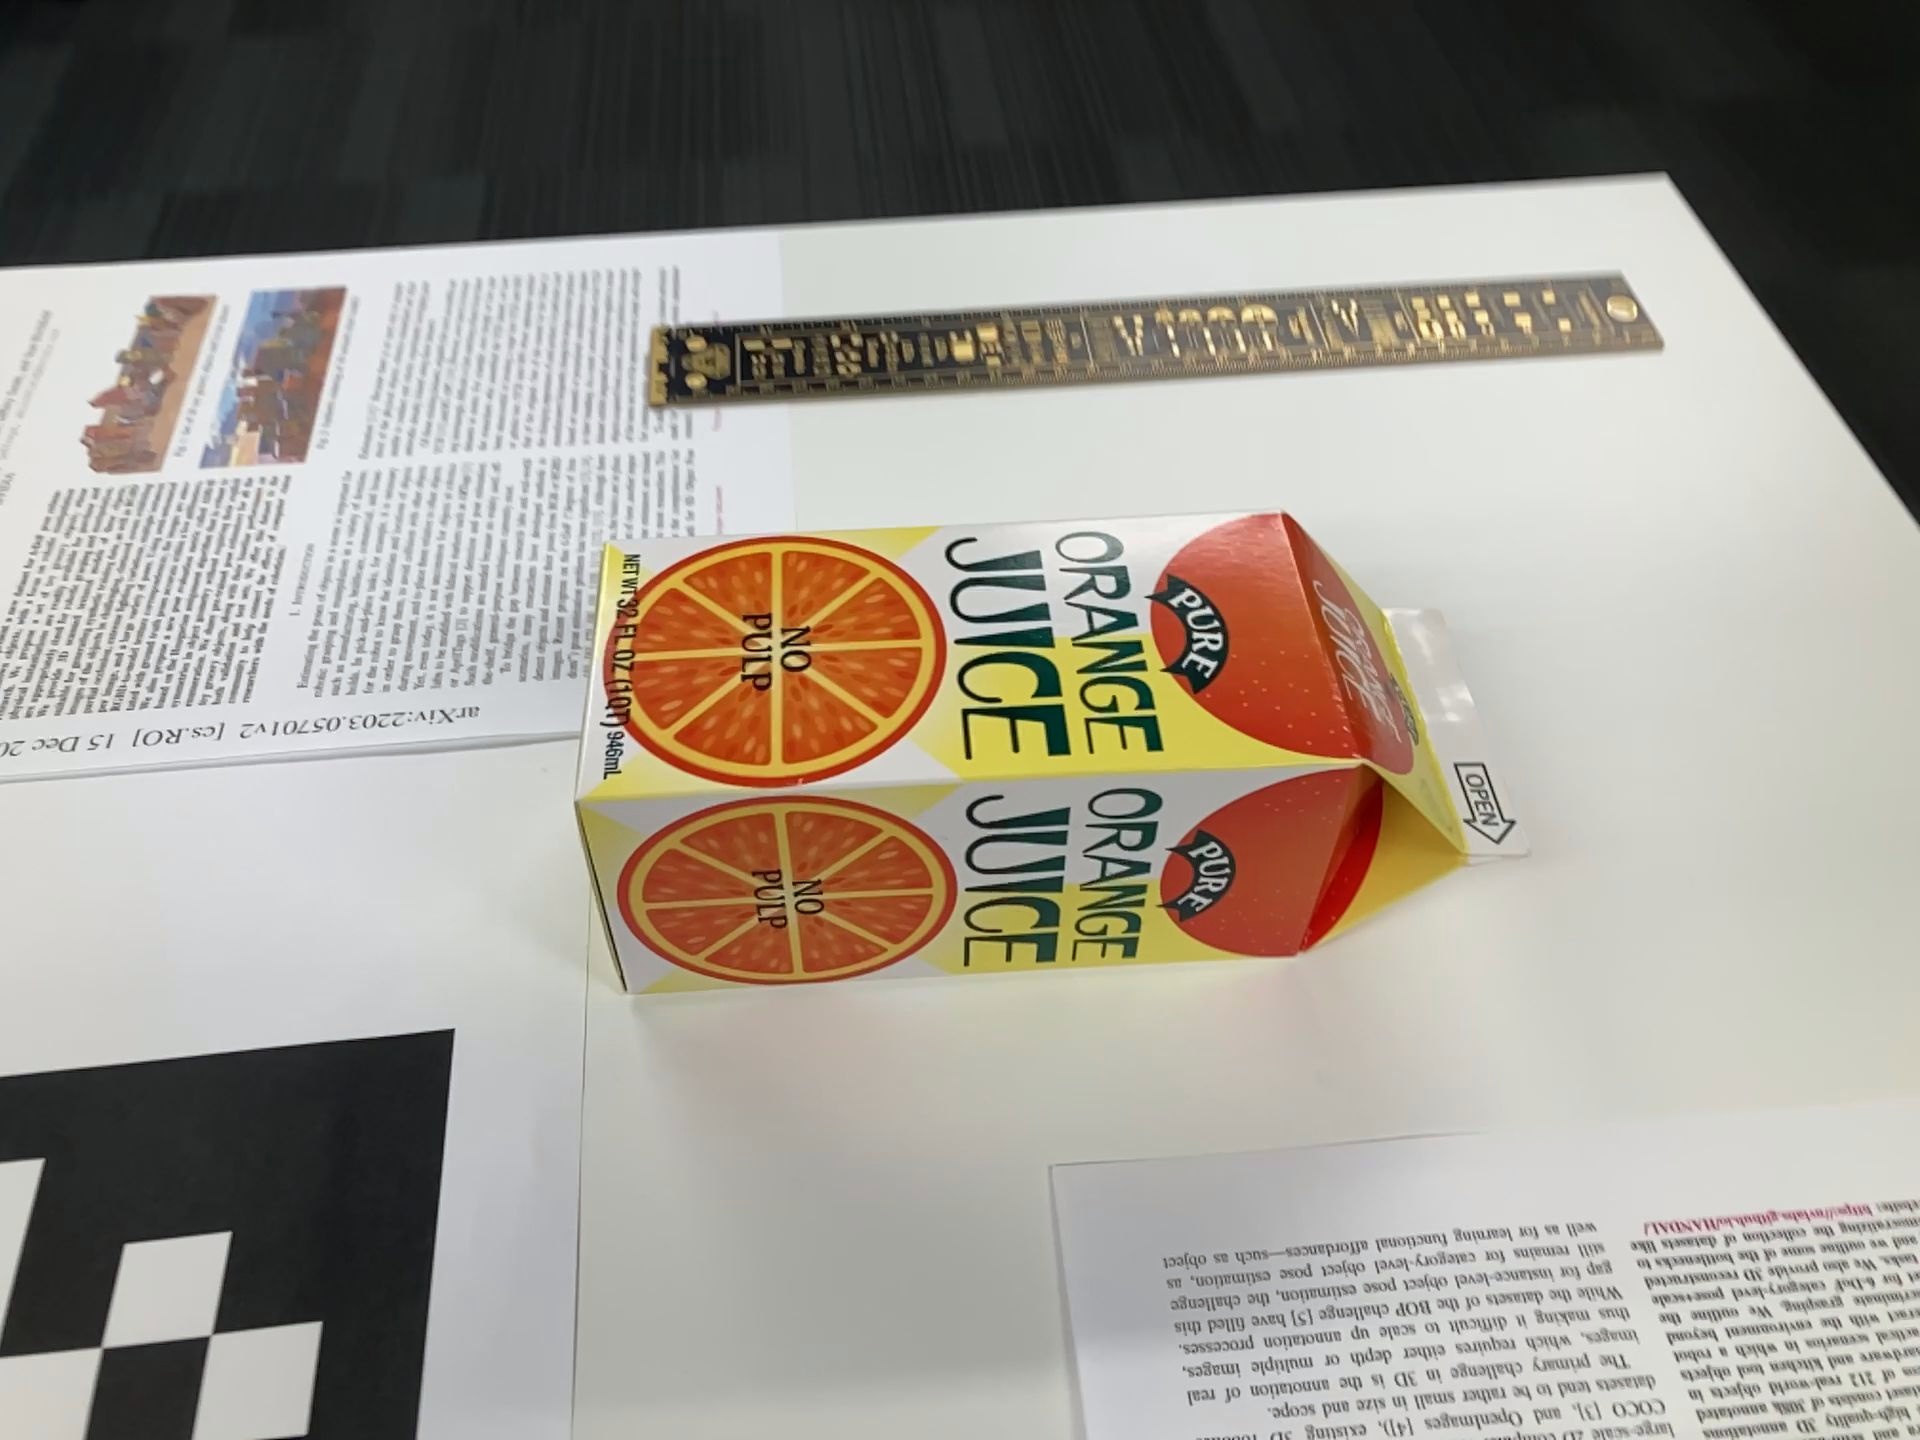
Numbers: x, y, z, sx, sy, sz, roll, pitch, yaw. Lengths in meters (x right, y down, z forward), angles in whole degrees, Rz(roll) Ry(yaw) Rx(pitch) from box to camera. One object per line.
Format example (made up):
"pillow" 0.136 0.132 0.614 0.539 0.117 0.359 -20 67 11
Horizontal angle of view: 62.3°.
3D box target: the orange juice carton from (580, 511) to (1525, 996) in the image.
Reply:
"orange juice carton" 0.020 0.007 0.350 0.192 0.073 0.072 -3 49 -3
